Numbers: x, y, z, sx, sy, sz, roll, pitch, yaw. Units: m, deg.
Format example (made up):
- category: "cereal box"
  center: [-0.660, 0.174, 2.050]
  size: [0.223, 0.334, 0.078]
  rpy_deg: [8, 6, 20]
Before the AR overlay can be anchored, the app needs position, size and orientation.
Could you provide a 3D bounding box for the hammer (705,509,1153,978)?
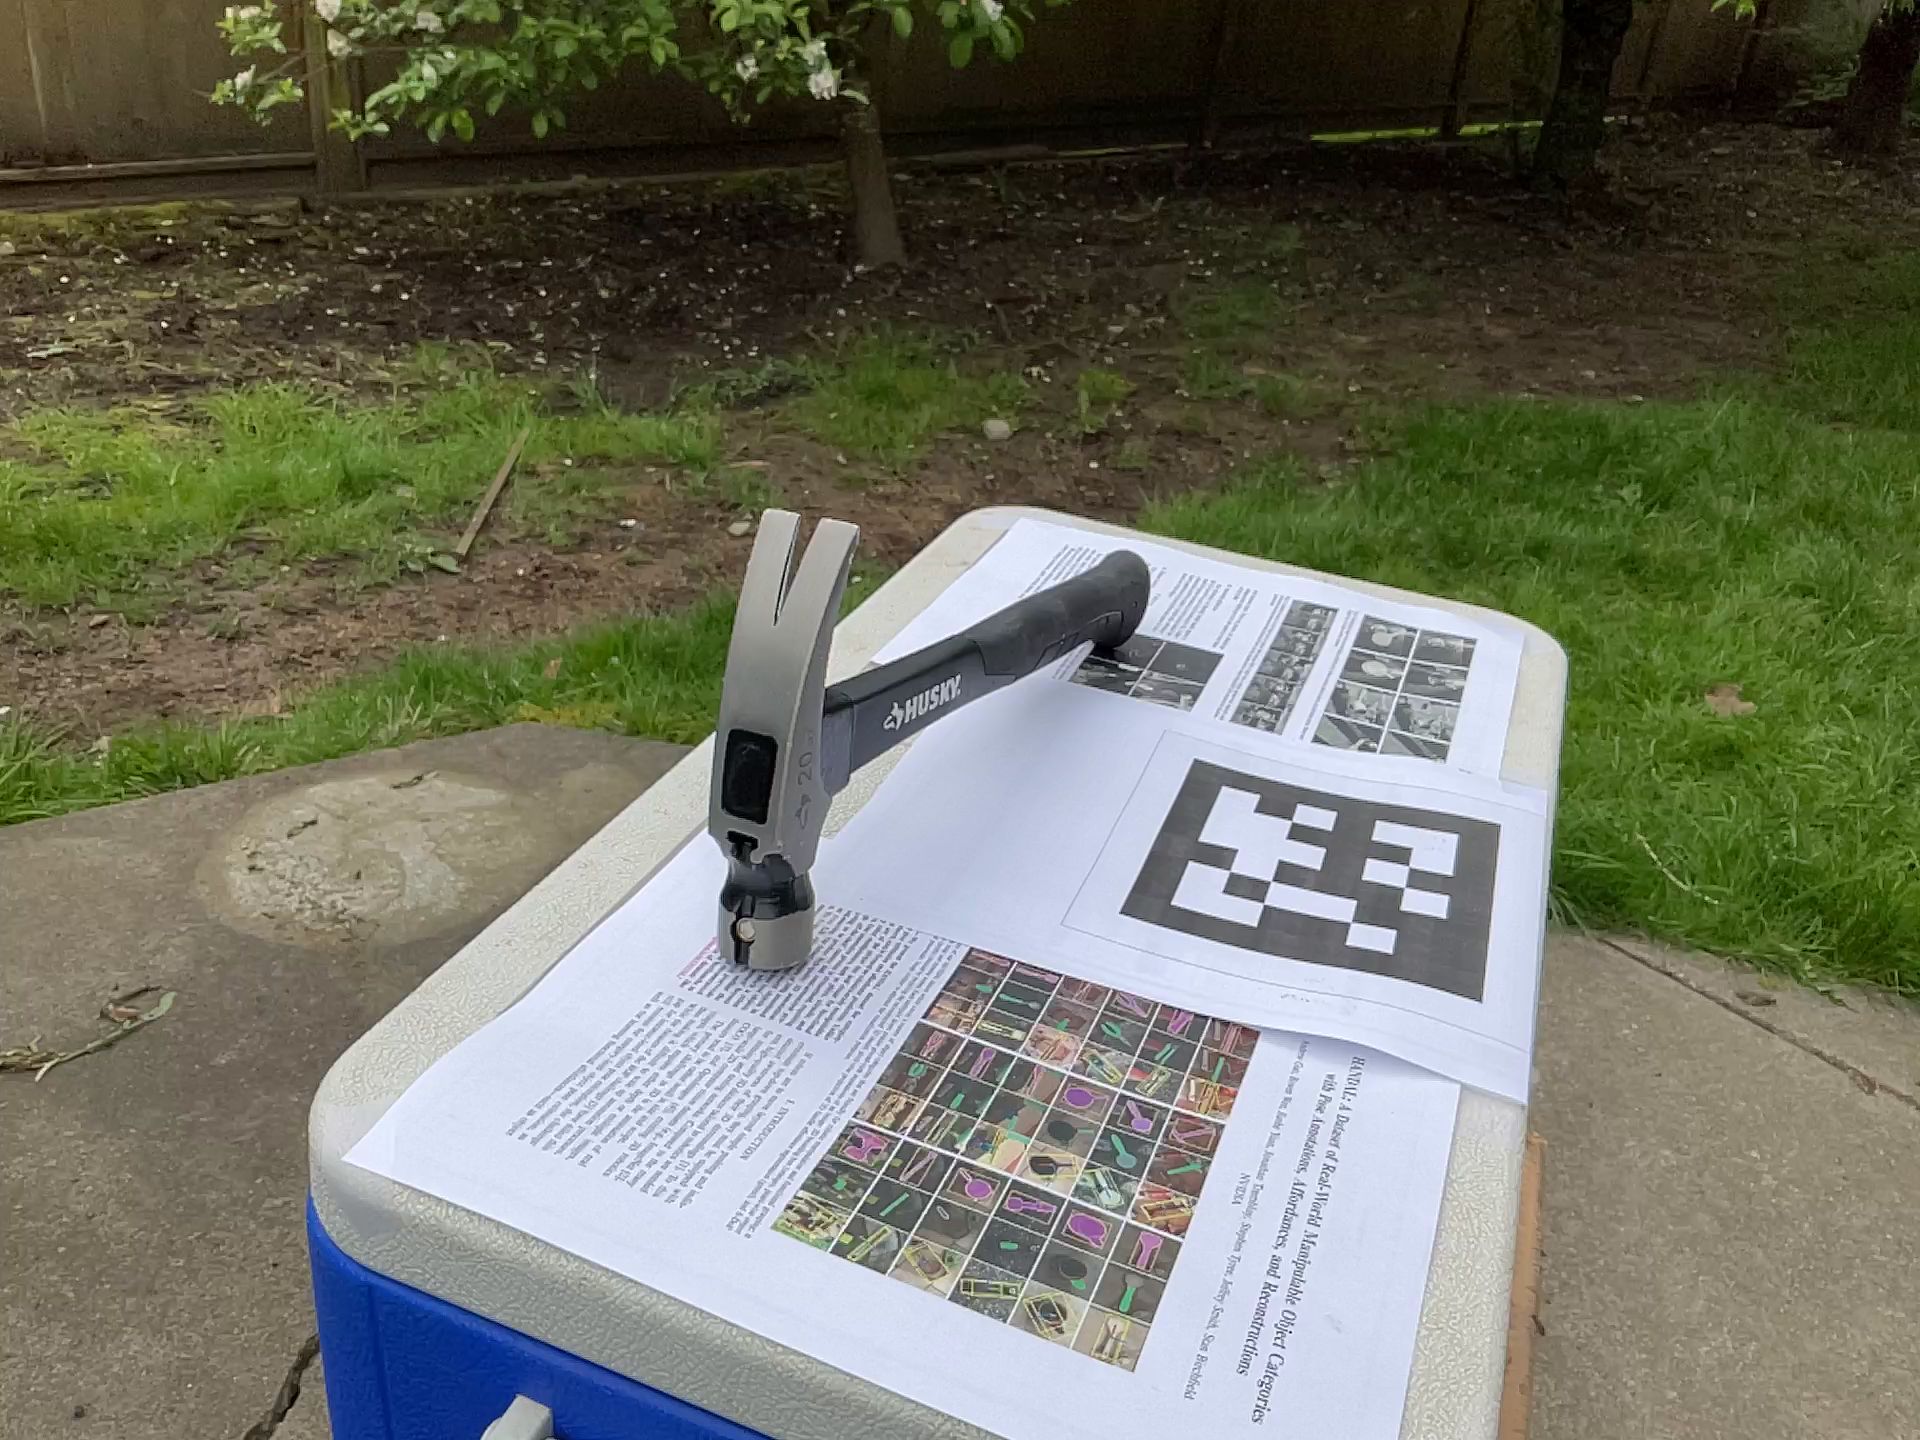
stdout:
- category: "hammer"
  center: [0.007, -0.027, 0.635]
  size: [0.035, 0.146, 0.334]
  rpy_deg: [13, 20, 24]
